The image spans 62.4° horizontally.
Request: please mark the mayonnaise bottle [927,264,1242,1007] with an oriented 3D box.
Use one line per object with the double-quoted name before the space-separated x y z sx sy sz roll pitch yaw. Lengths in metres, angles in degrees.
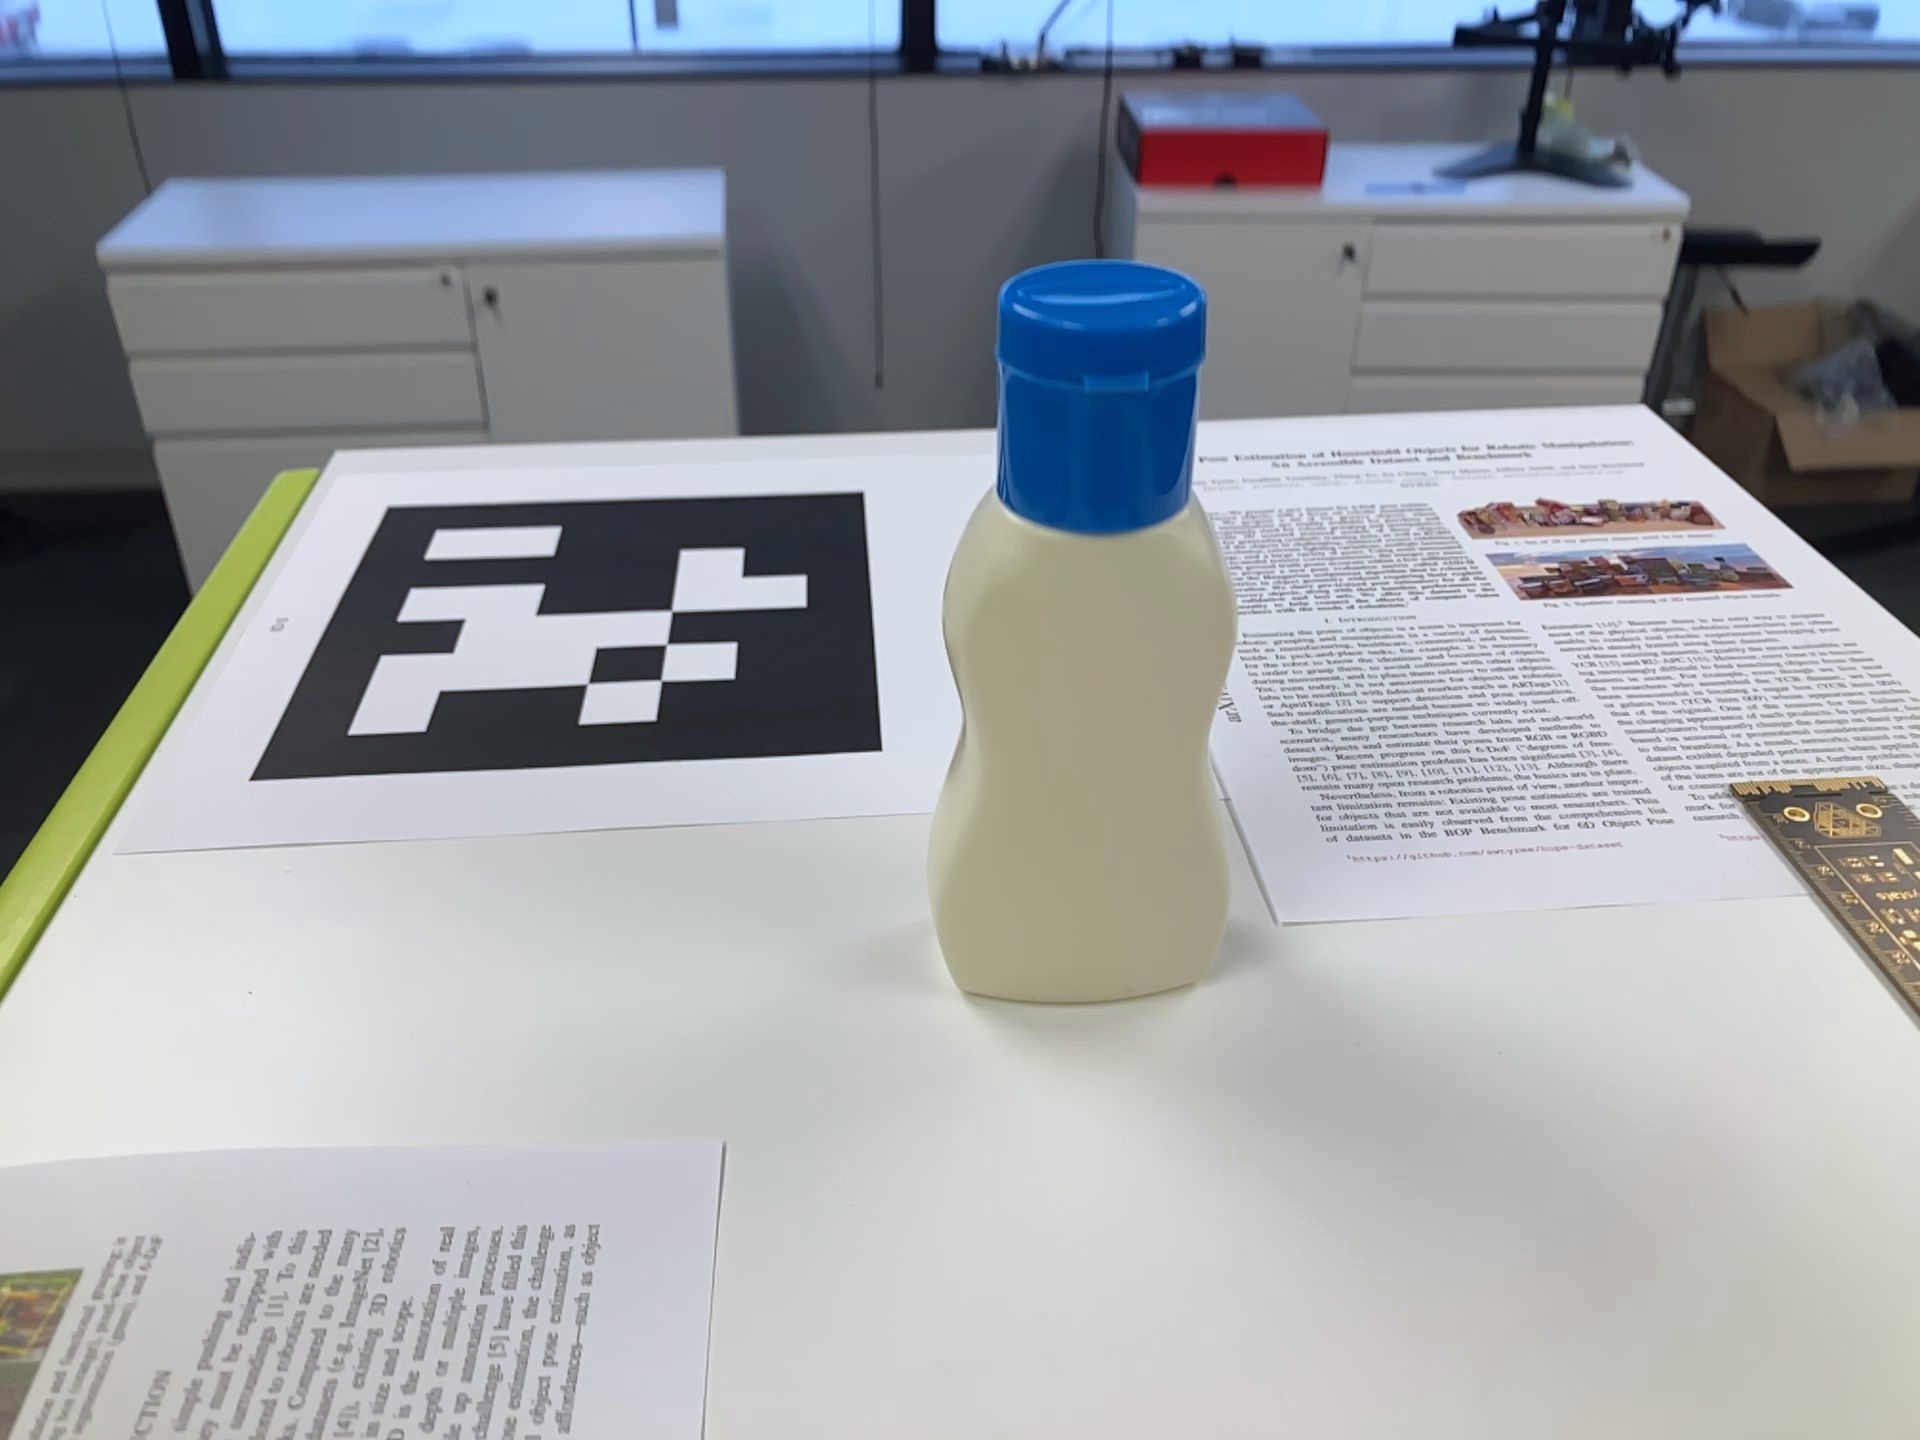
"mayonnaise bottle" 0.025 -0.011 0.310 0.065 0.148 0.041 -2 32 -4
